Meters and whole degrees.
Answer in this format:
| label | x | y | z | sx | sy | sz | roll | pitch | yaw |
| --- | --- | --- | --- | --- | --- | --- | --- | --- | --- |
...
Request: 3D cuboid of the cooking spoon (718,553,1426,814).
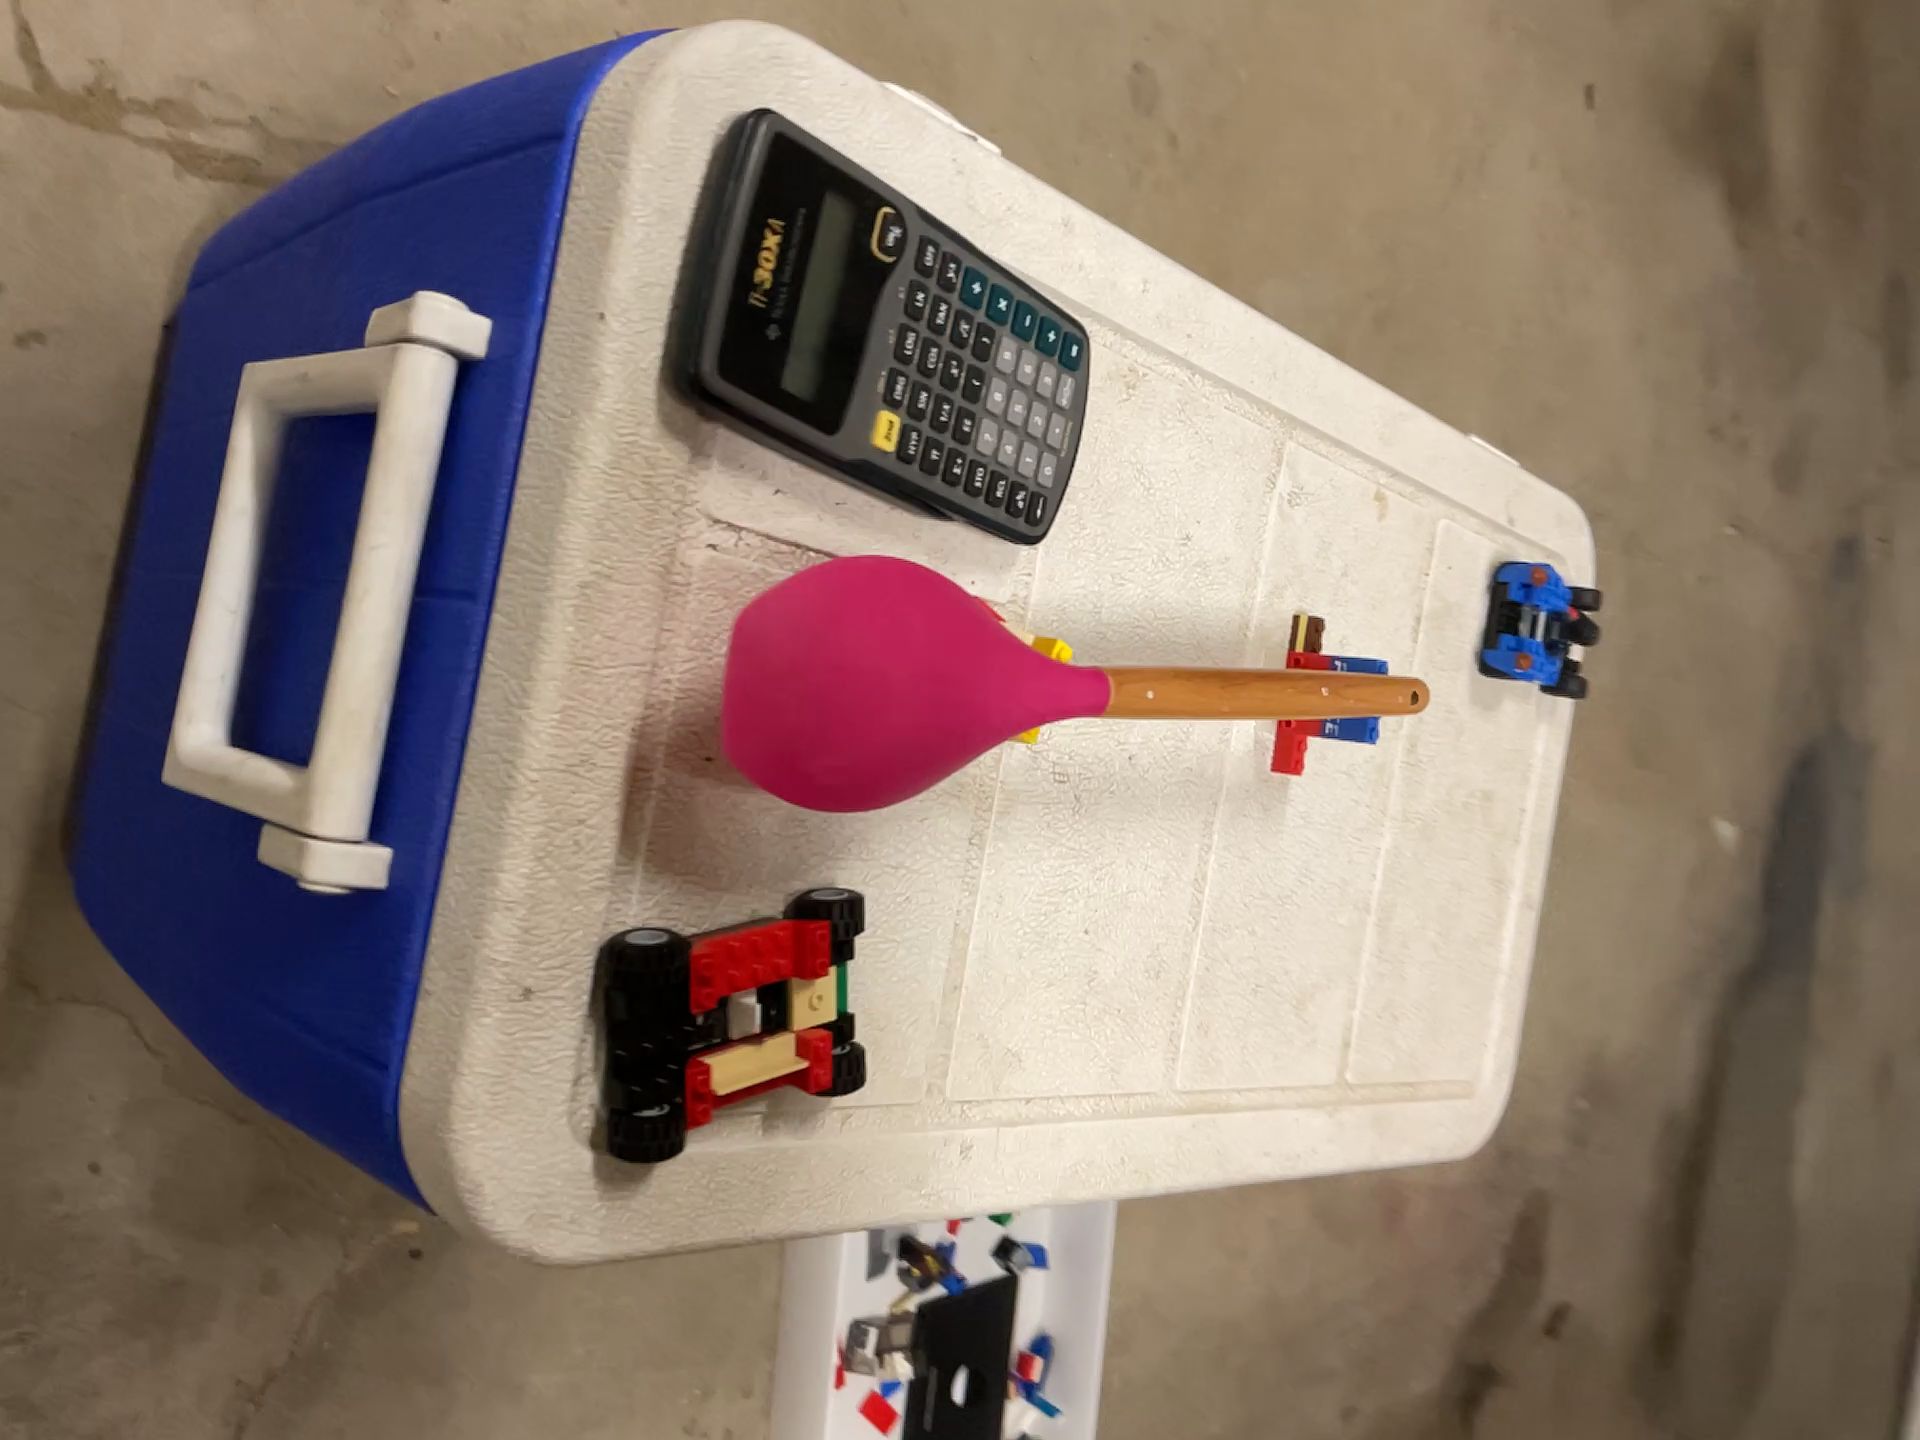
| label | x | y | z | sx | sy | sz | roll | pitch | yaw |
| --- | --- | --- | --- | --- | --- | --- | --- | --- | --- |
| cooking spoon | 0.058 | -0.009 | 0.493 | 0.319 | 0.017 | 0.068 | 0 | 101 | -45 |
